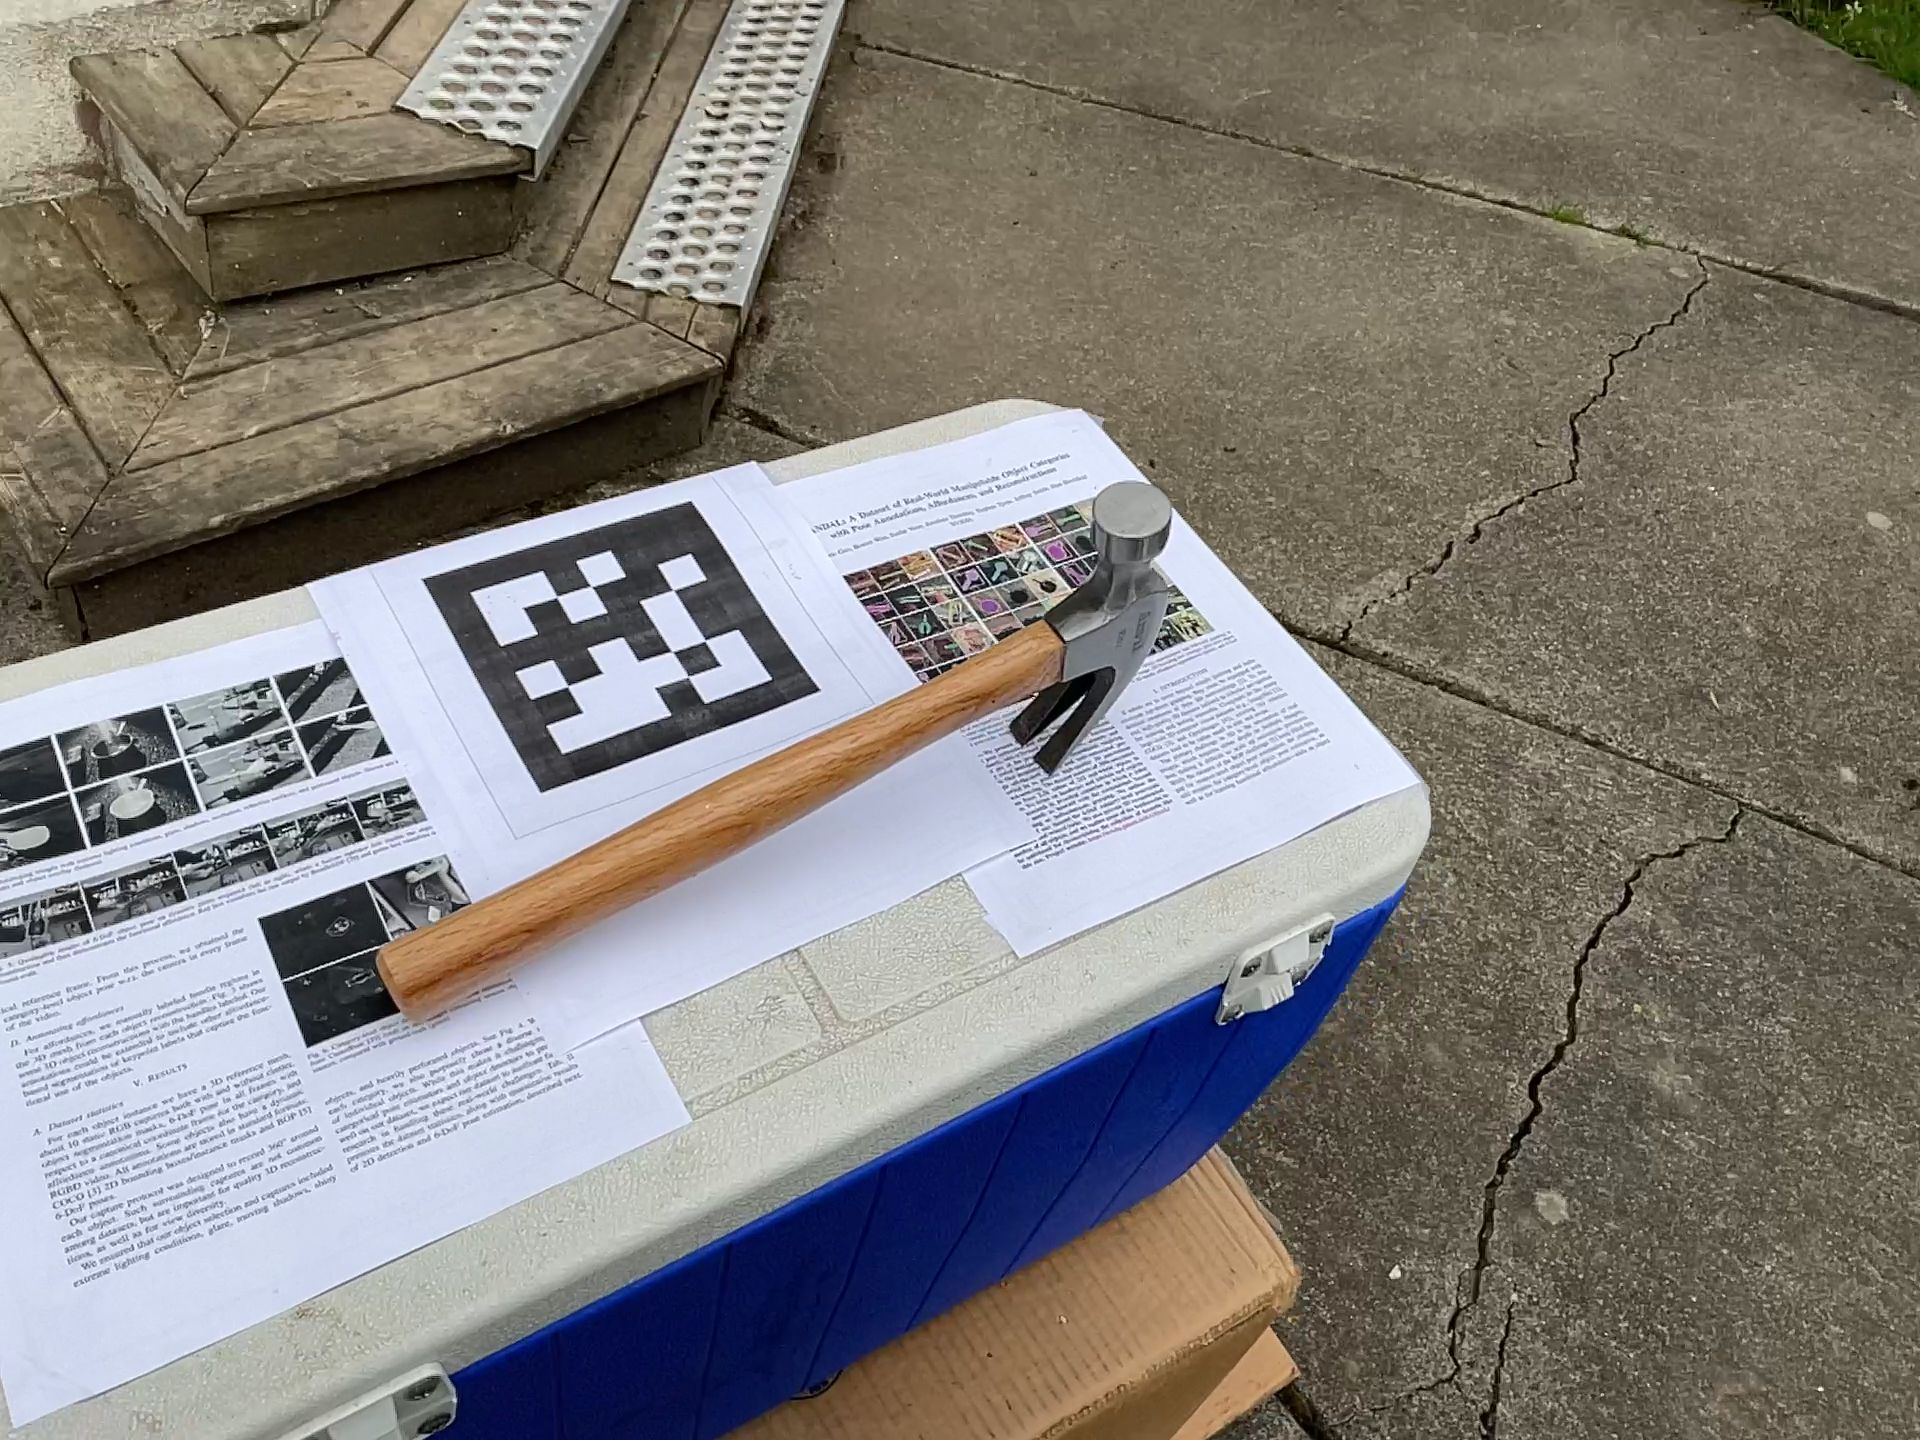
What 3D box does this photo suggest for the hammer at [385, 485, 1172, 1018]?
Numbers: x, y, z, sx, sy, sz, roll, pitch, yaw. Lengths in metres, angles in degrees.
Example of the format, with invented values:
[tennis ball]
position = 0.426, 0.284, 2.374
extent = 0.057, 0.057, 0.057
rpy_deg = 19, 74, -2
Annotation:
[hammer]
position = -0.059, 0.023, 0.620
extent = 0.331, 0.130, 0.031
rpy_deg = -28, 58, -18
